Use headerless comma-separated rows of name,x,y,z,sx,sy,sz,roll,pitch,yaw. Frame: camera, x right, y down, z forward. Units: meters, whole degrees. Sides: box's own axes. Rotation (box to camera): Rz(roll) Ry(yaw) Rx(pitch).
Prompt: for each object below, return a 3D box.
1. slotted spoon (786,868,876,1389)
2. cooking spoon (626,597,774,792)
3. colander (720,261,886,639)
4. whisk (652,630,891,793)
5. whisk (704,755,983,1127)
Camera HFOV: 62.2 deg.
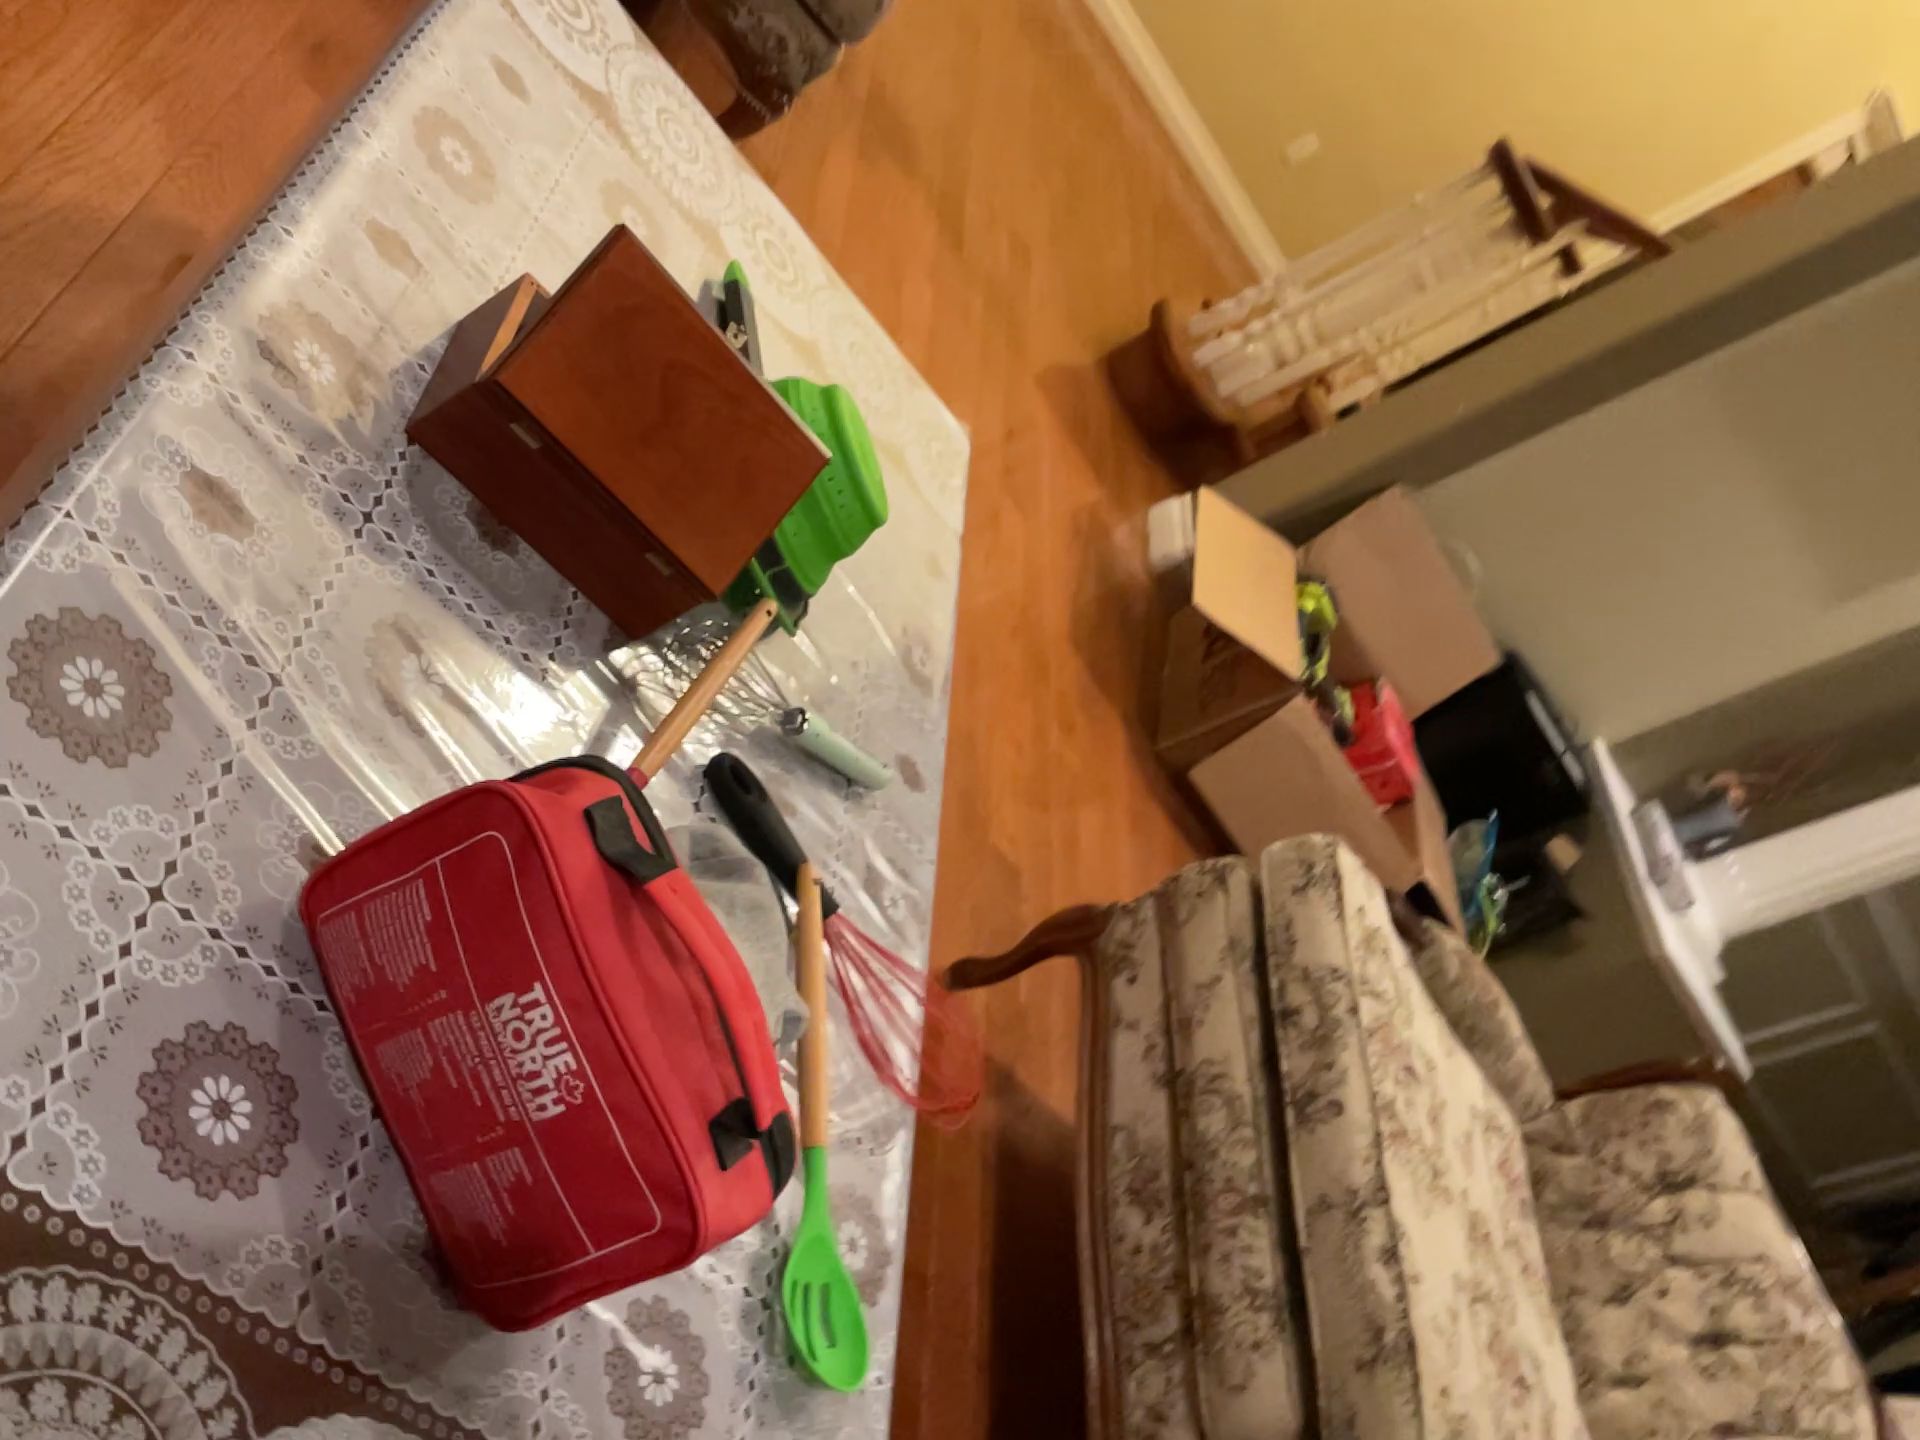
slotted spoon,-0.086,0.233,0.950,0.070,0.031,0.314,33,42,-47
cooking spoon,-0.180,0.020,0.941,0.068,0.017,0.319,54,38,-23
colander,-0.126,-0.241,1.212,0.204,0.094,0.398,66,9,-48
whisk,-0.124,0.002,1.109,0.246,0.059,0.058,34,80,-49
whisk,-0.076,0.145,1.045,0.296,0.073,0.073,55,33,-4
